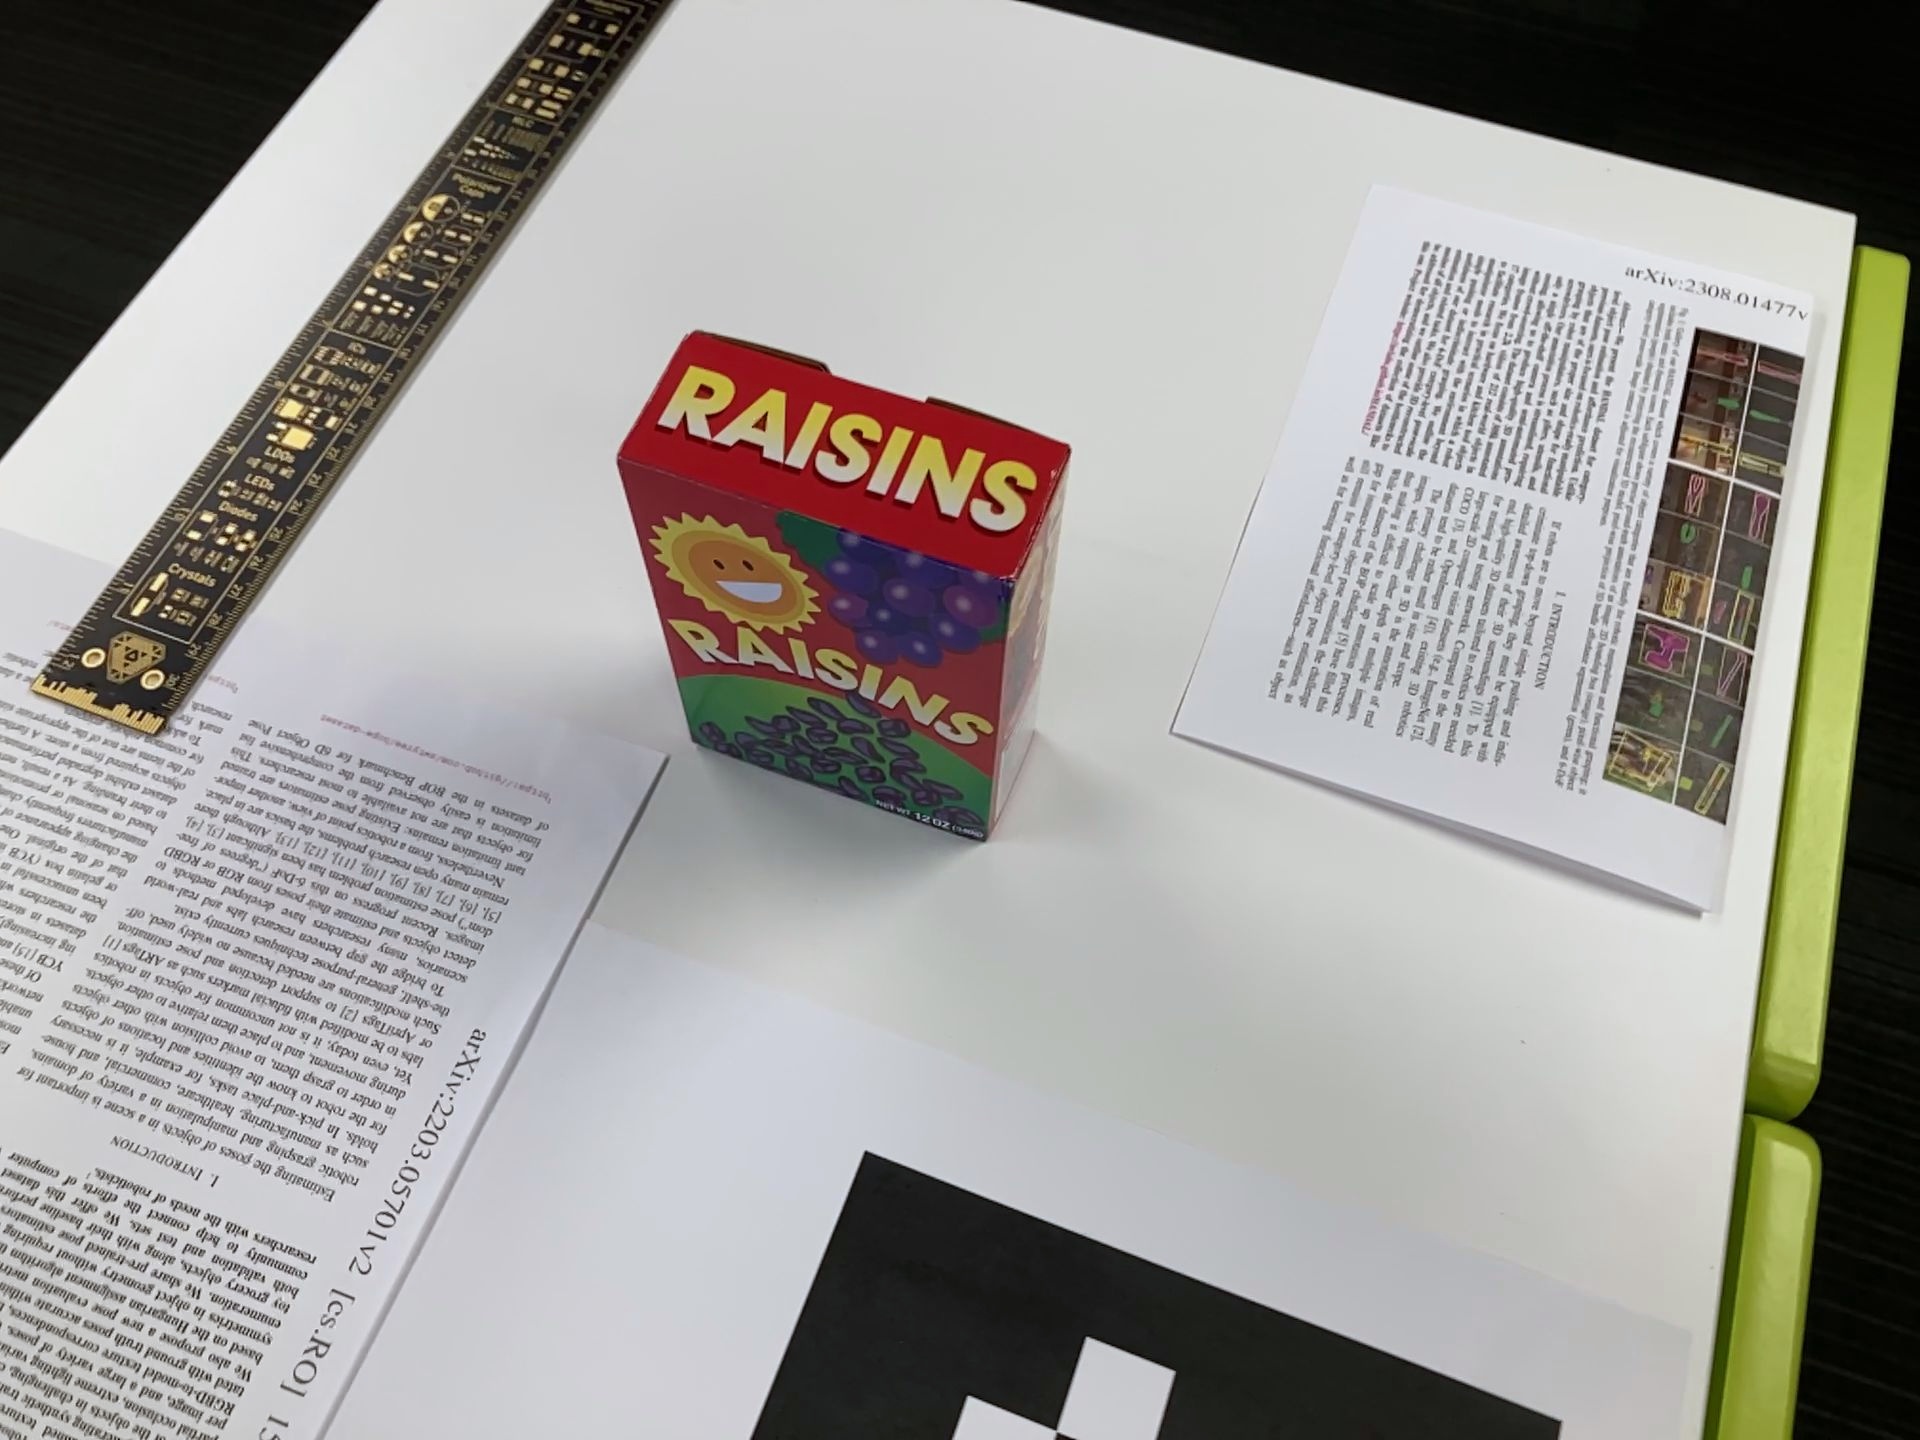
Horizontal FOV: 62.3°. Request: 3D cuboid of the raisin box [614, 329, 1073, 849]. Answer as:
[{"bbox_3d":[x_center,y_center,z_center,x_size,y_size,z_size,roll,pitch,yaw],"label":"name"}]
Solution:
[{"bbox_3d":[-0.024,-0.025,0.364,0.086,0.123,0.040,19,63,9],"label":"raisin box"}]
